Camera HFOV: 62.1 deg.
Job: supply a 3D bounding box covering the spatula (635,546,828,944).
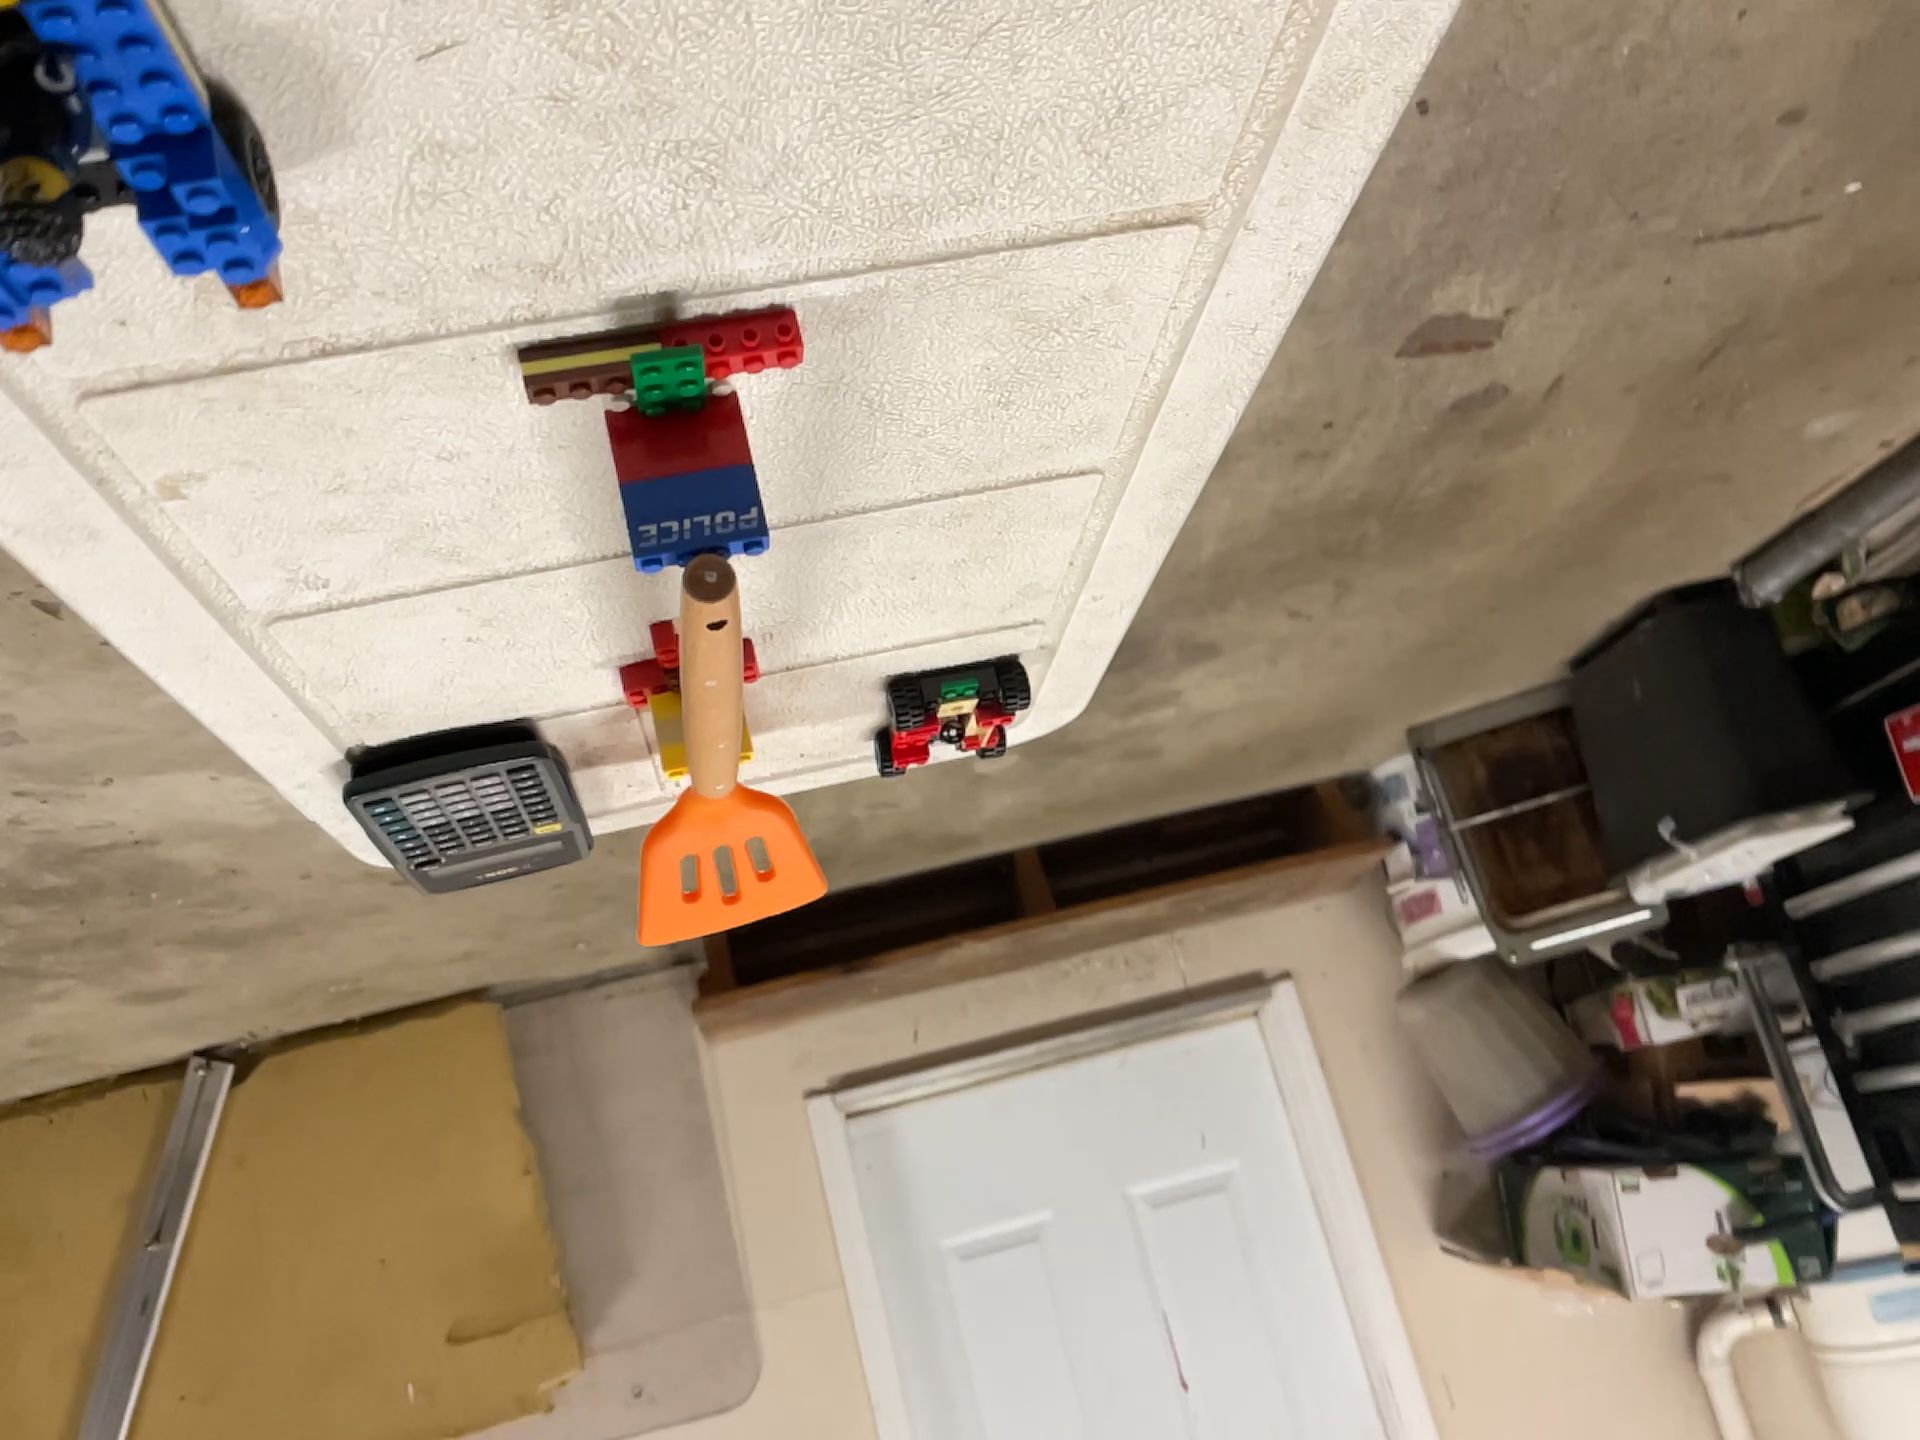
[{"bbox_3d":[-0.077,0.020,0.517,0.081,0.041,0.322,-14,166,-12],"label":"spatula"}]
